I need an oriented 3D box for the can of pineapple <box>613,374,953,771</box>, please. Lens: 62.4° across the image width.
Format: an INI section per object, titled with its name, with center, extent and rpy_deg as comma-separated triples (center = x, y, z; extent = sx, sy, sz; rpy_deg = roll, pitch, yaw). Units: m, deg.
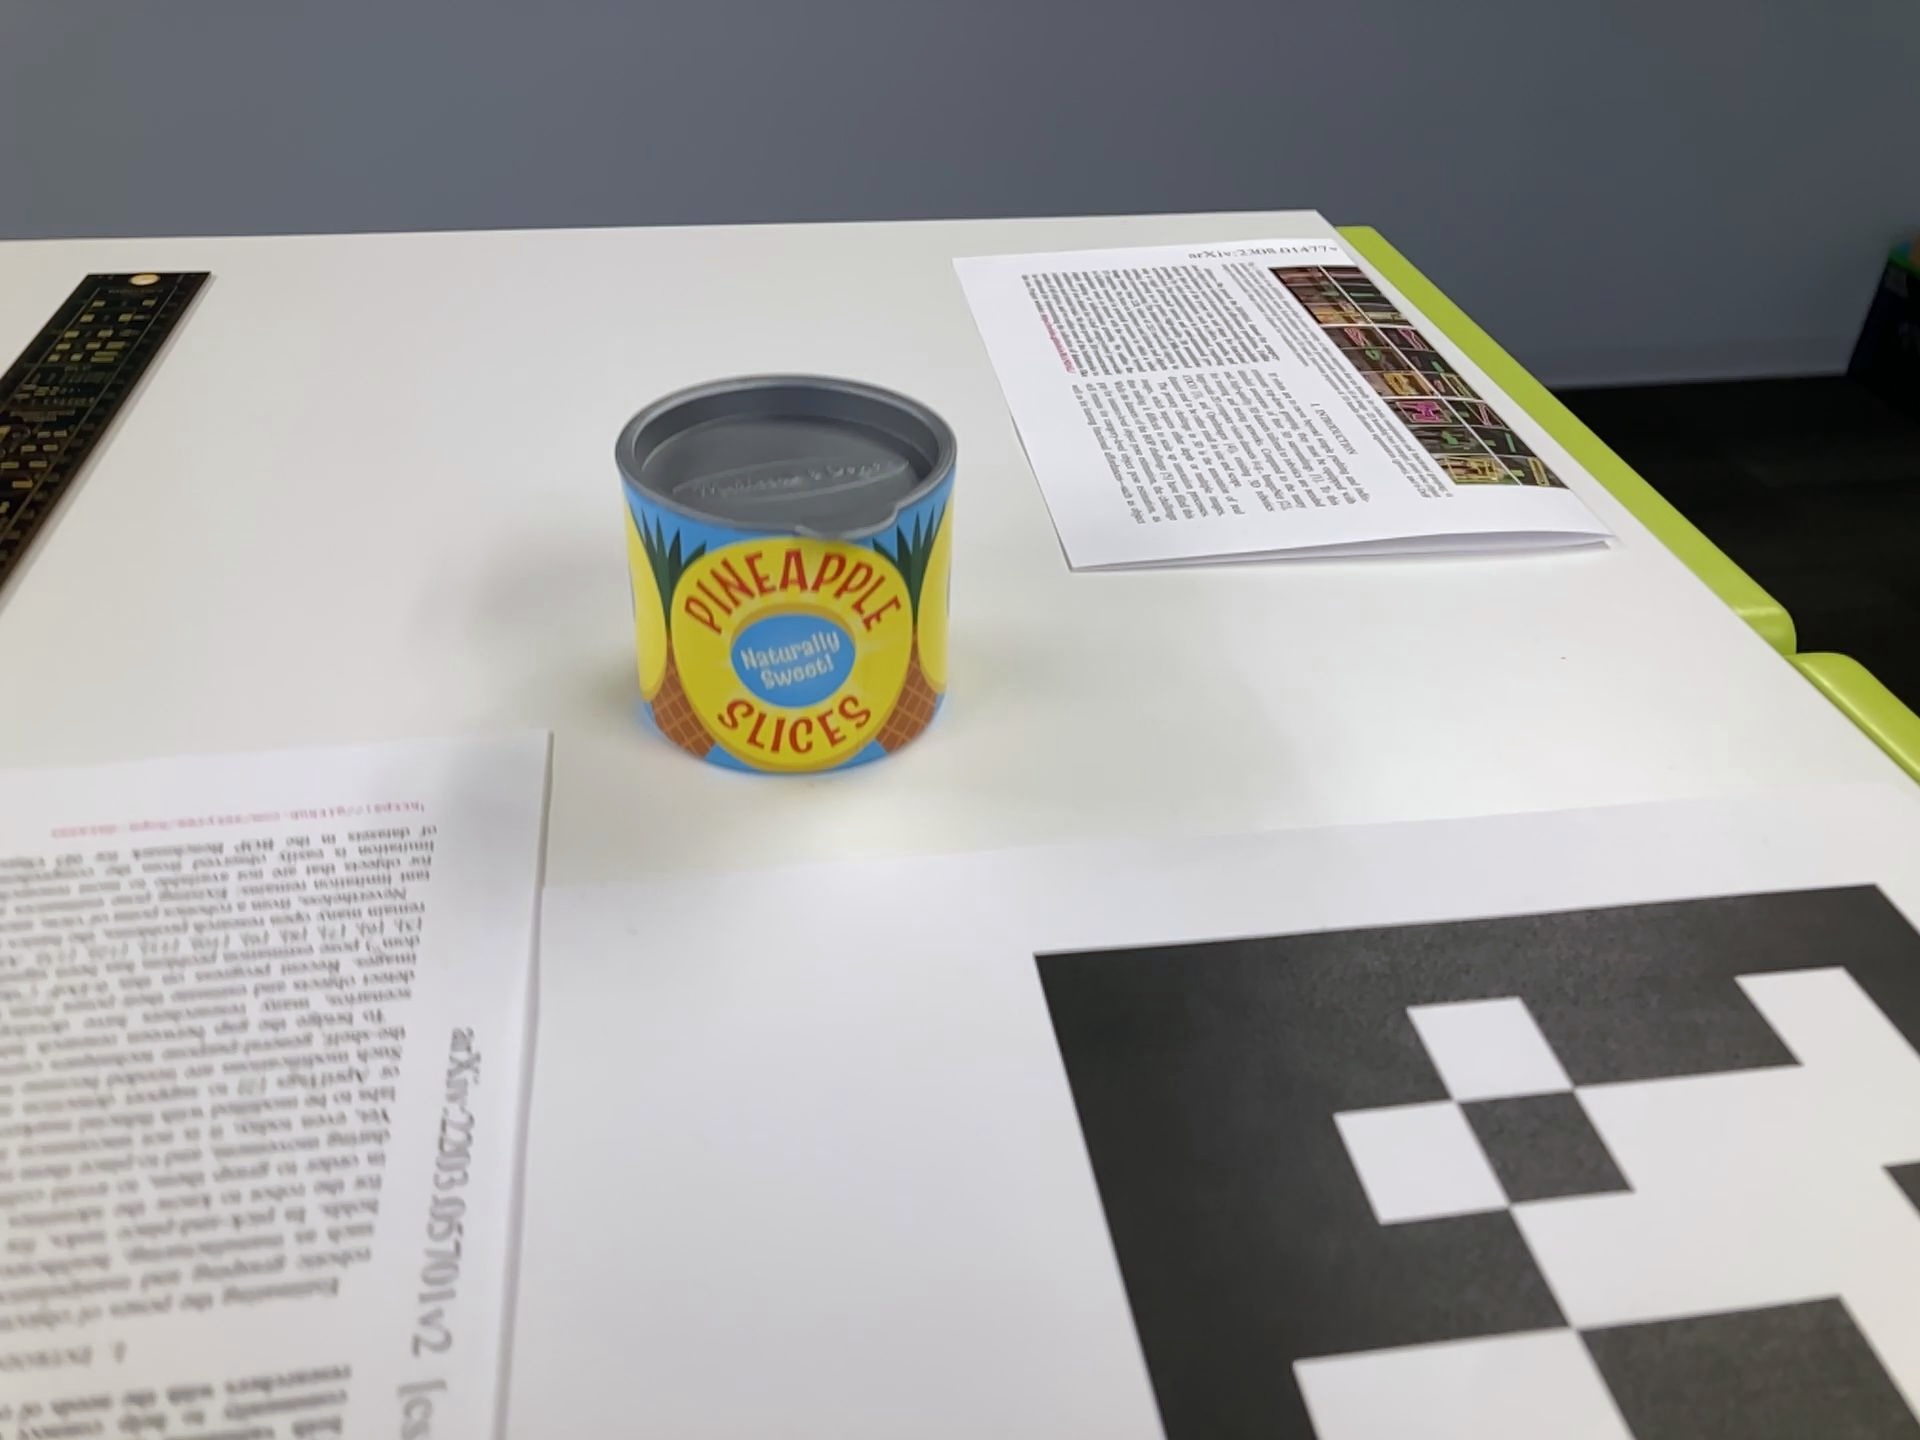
[can of pineapple]
center = -0.035, -0.030, 0.324
extent = 0.071, 0.058, 0.071
rpy_deg = 1, 36, -1
